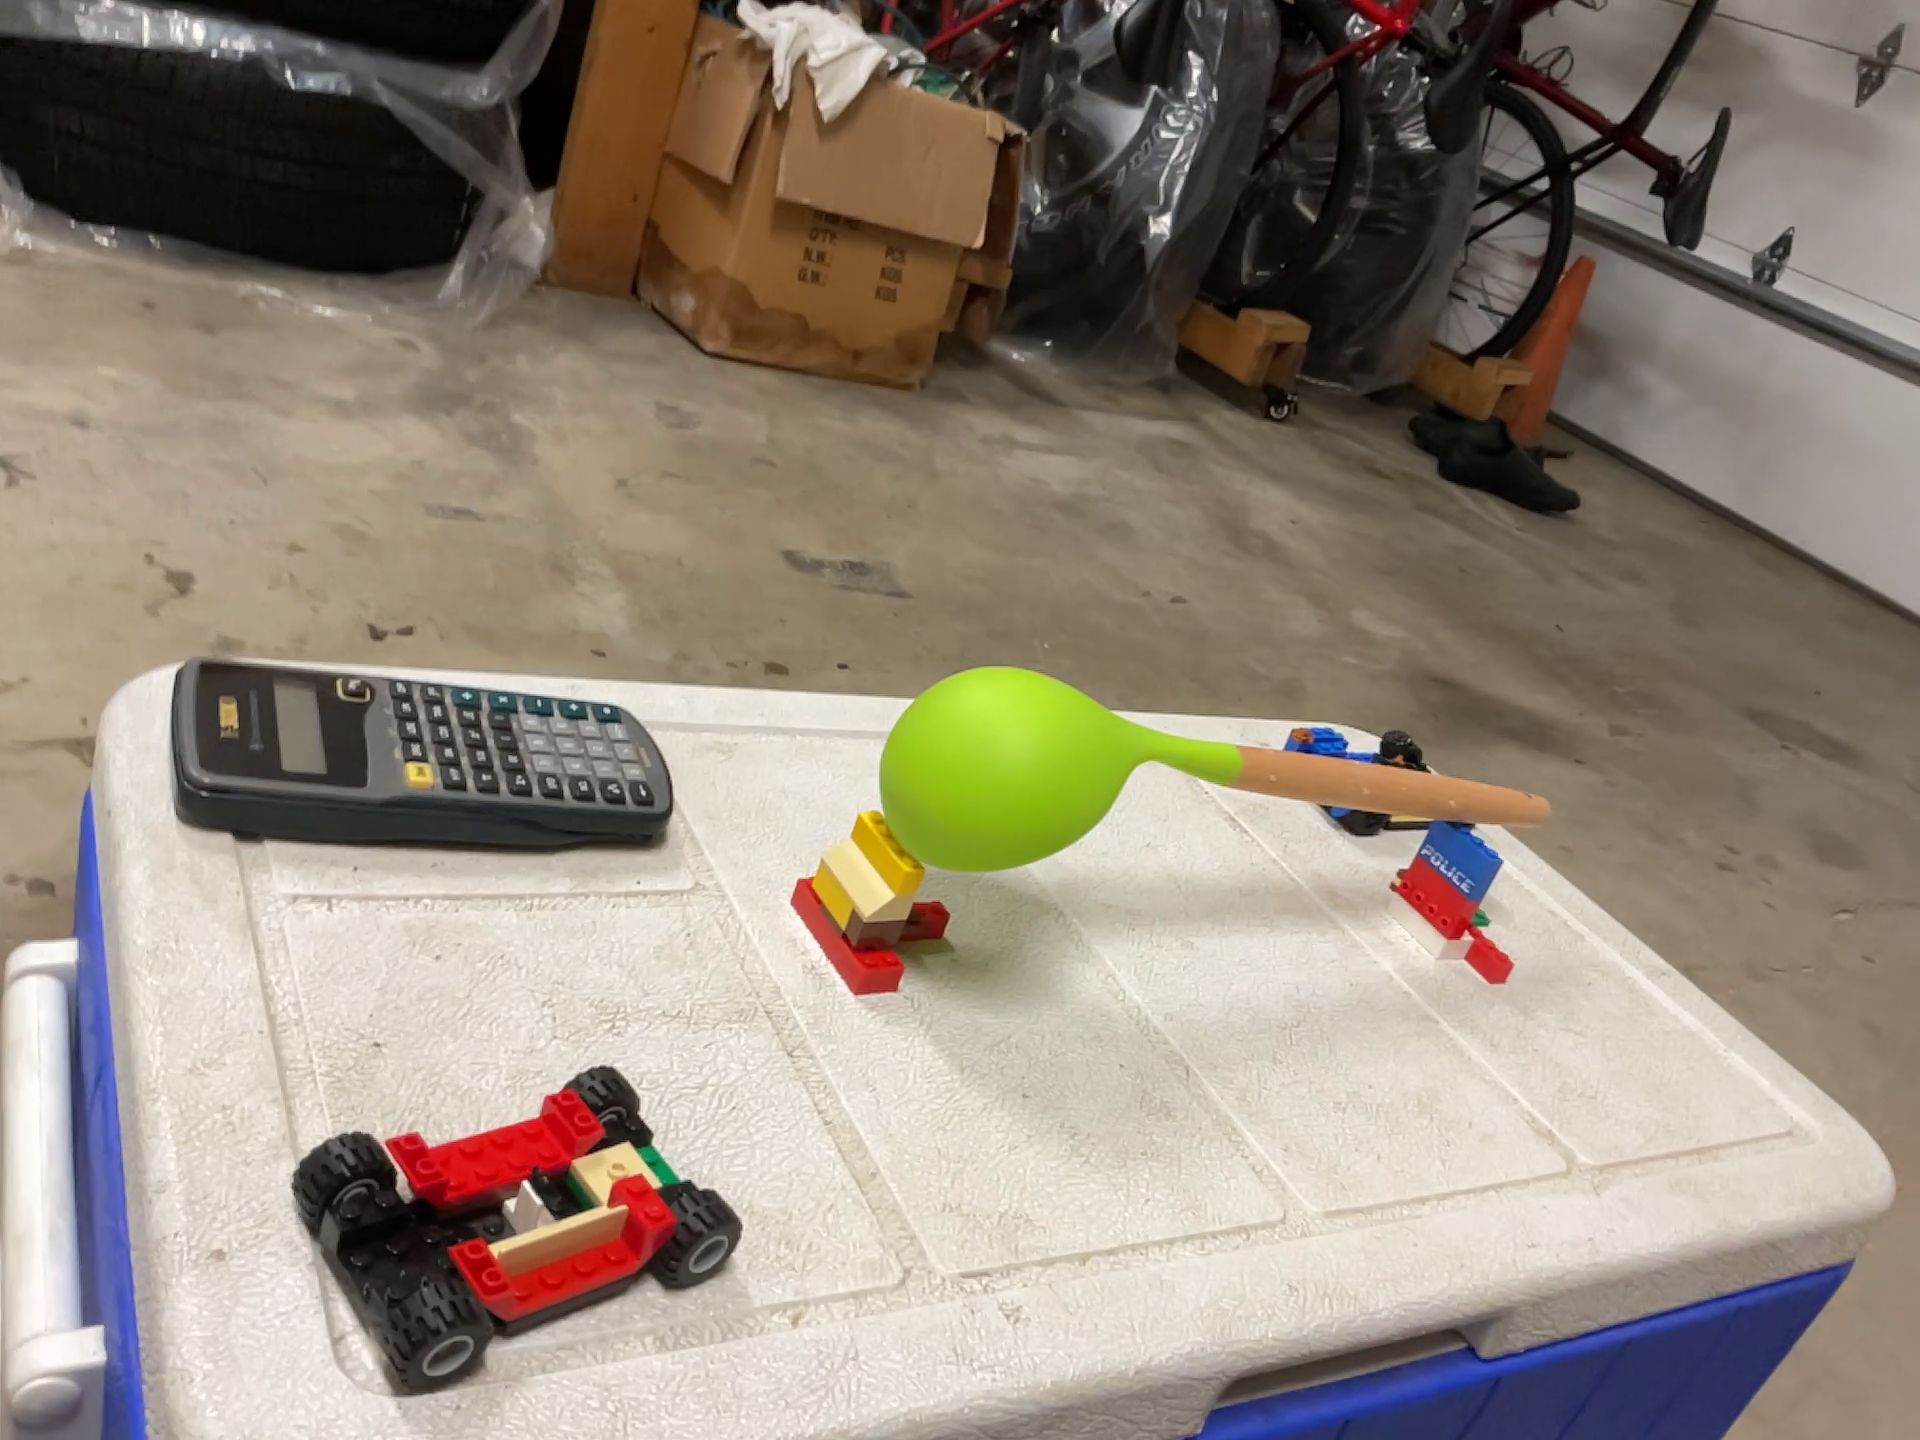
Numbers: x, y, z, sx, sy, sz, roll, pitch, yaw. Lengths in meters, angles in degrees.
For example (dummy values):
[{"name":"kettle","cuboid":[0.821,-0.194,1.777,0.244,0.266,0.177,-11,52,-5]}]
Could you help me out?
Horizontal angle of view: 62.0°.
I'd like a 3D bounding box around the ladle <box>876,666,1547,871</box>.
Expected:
[{"name":"ladle","cuboid":[0.110,0.030,0.579,0.320,0.062,0.078,9,20,-36]}]
